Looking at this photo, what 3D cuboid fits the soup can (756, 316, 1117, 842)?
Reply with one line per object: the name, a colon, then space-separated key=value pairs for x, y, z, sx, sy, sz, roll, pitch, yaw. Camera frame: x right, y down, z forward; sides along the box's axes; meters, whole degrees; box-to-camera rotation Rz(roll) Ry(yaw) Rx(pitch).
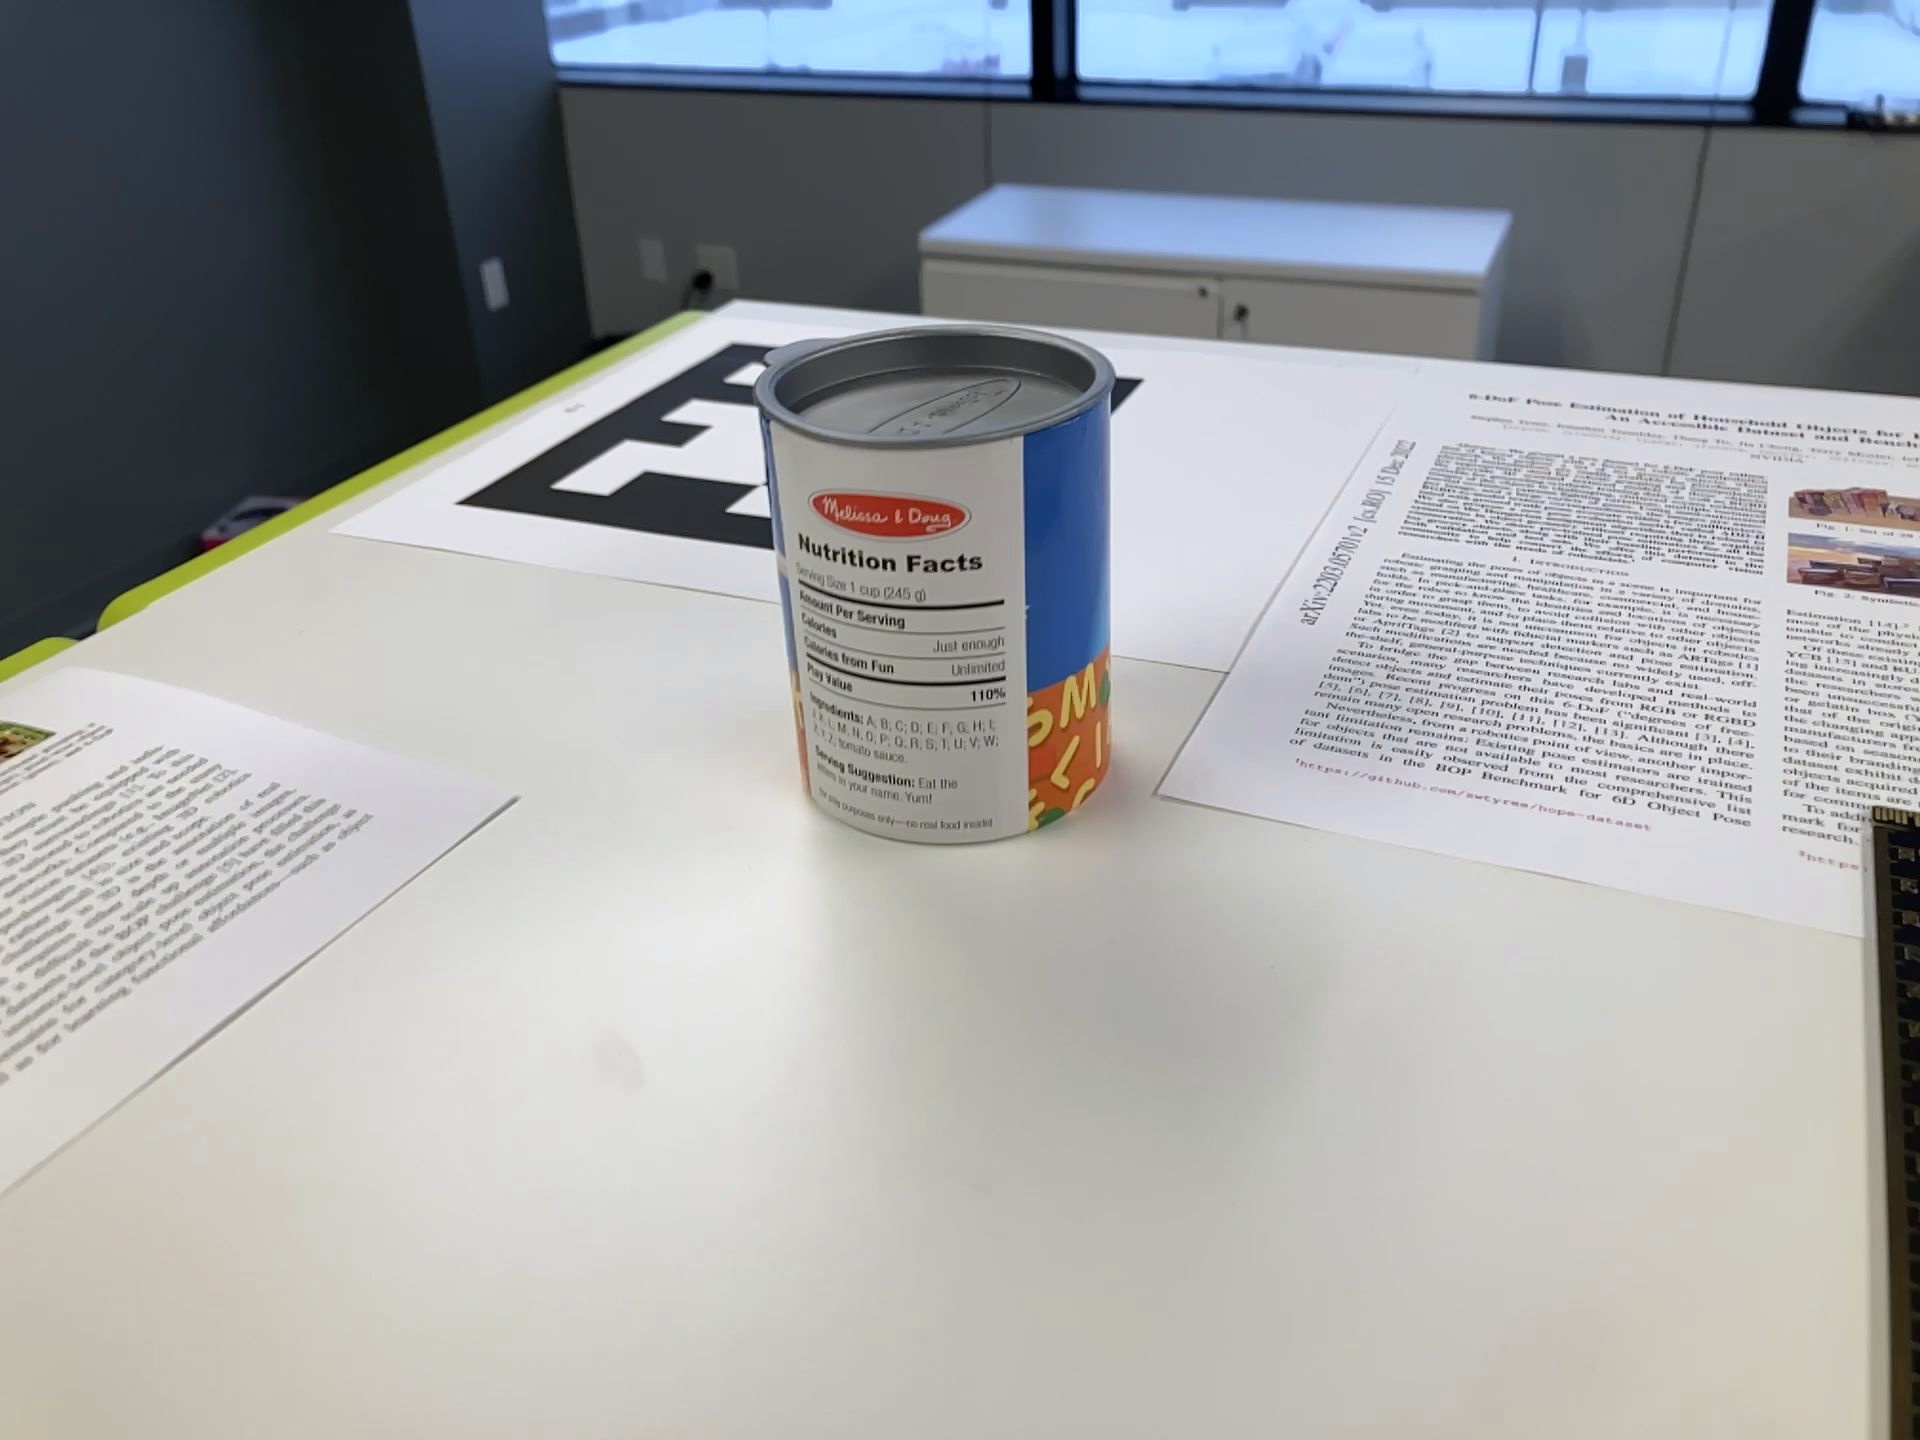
soup can: x=-0.002 y=-0.029 z=0.315 sx=0.071 sy=0.084 sz=0.071 roll=-2 pitch=30 yaw=1
